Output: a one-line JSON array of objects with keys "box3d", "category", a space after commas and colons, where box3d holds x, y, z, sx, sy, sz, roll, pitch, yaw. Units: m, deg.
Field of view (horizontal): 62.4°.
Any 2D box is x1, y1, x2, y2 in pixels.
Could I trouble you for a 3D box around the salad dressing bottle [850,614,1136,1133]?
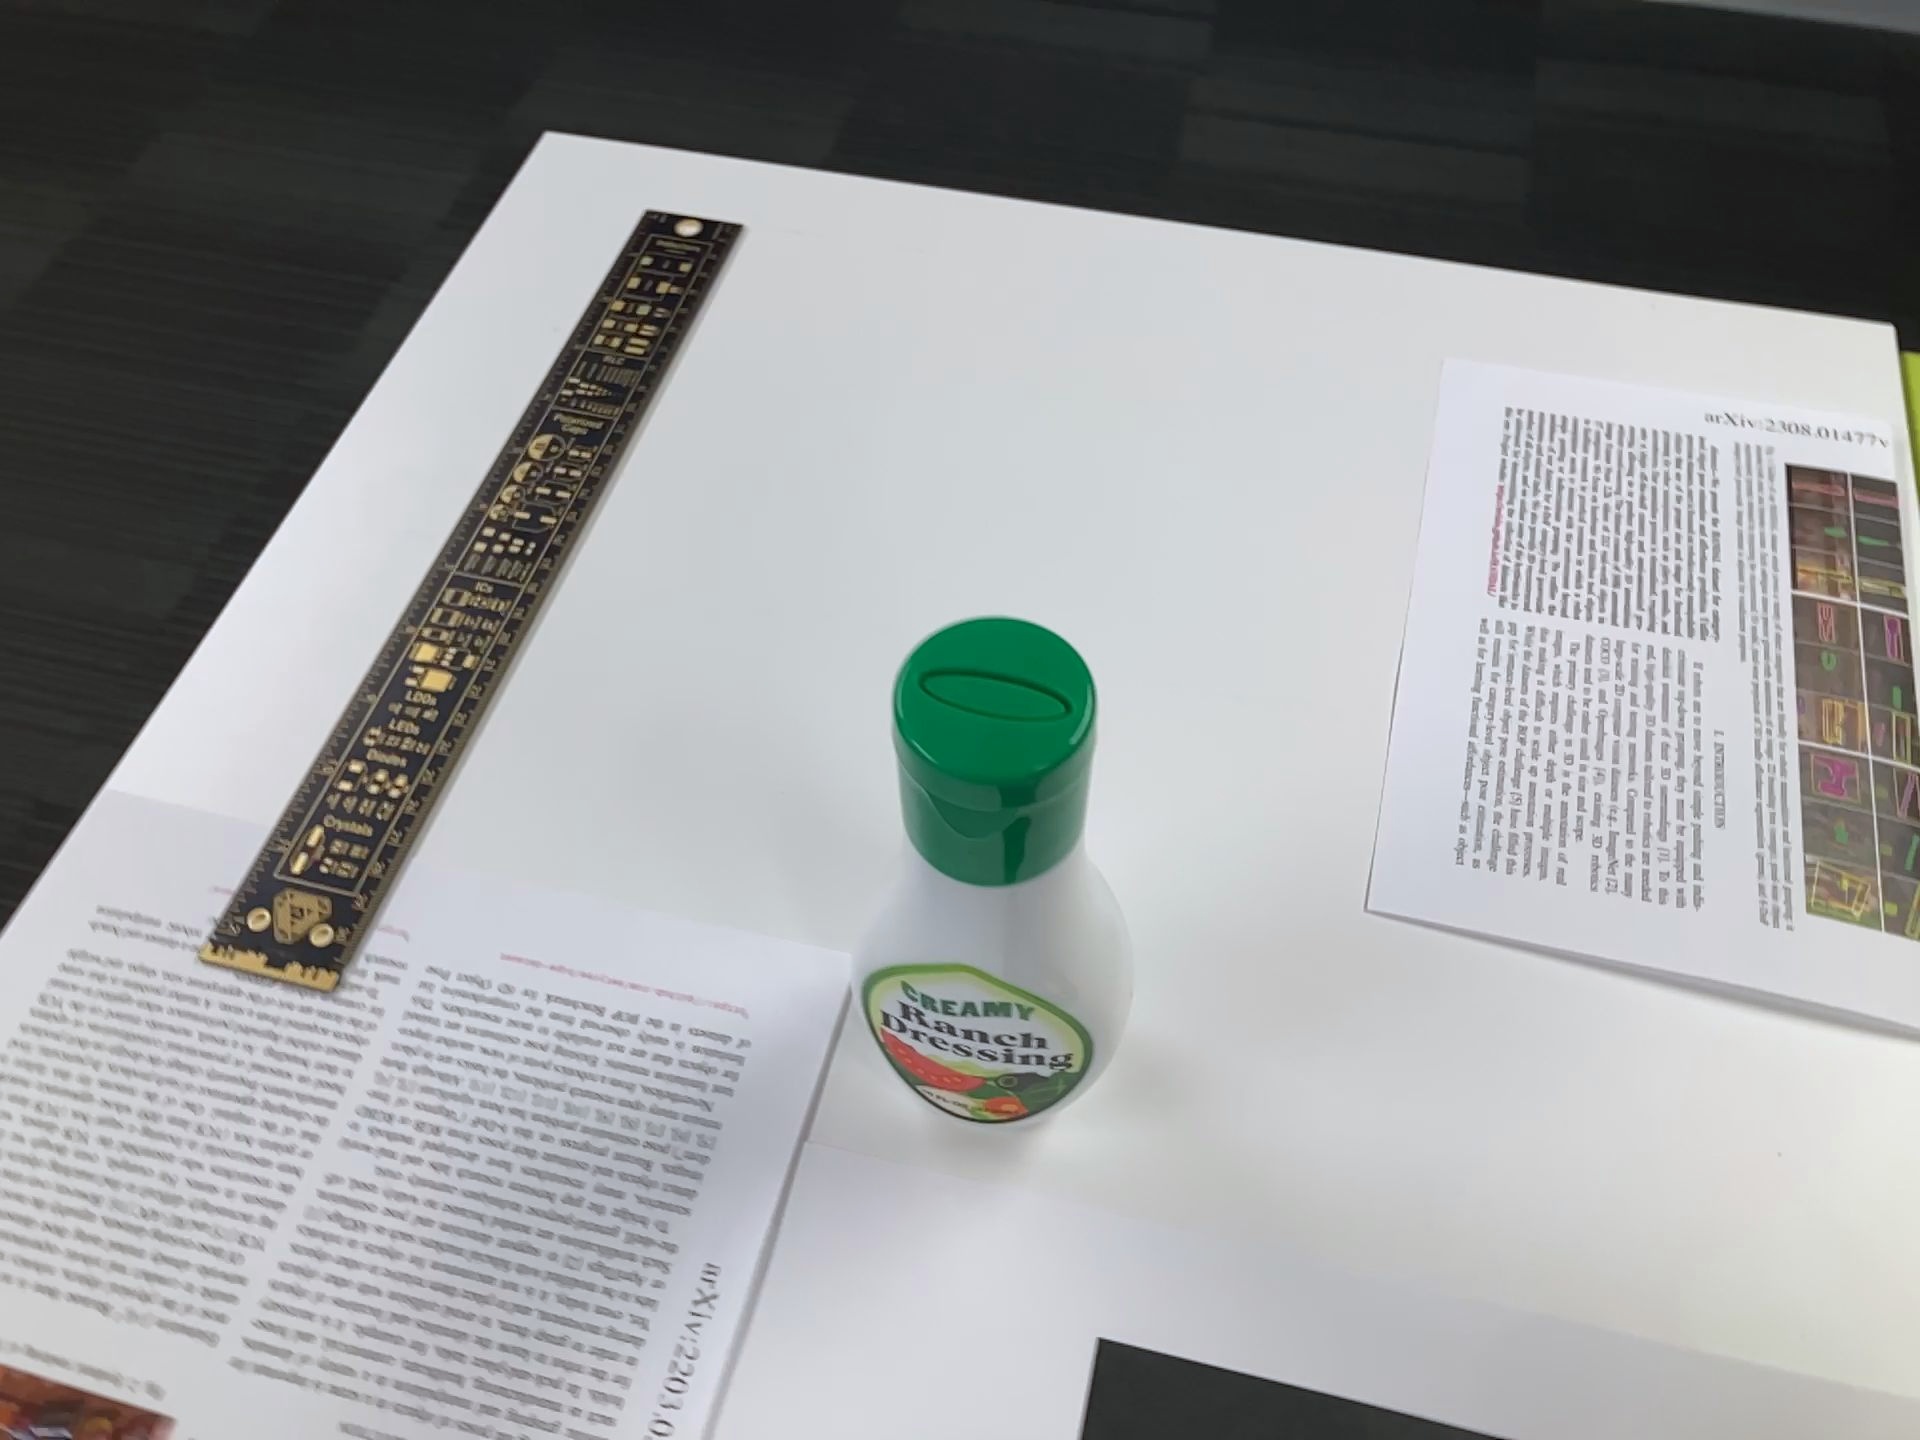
[{"box3d": [0.007, 0.038, 0.331, 0.064, 0.147, 0.044, 11, 55, 10], "category": "salad dressing bottle"}]
